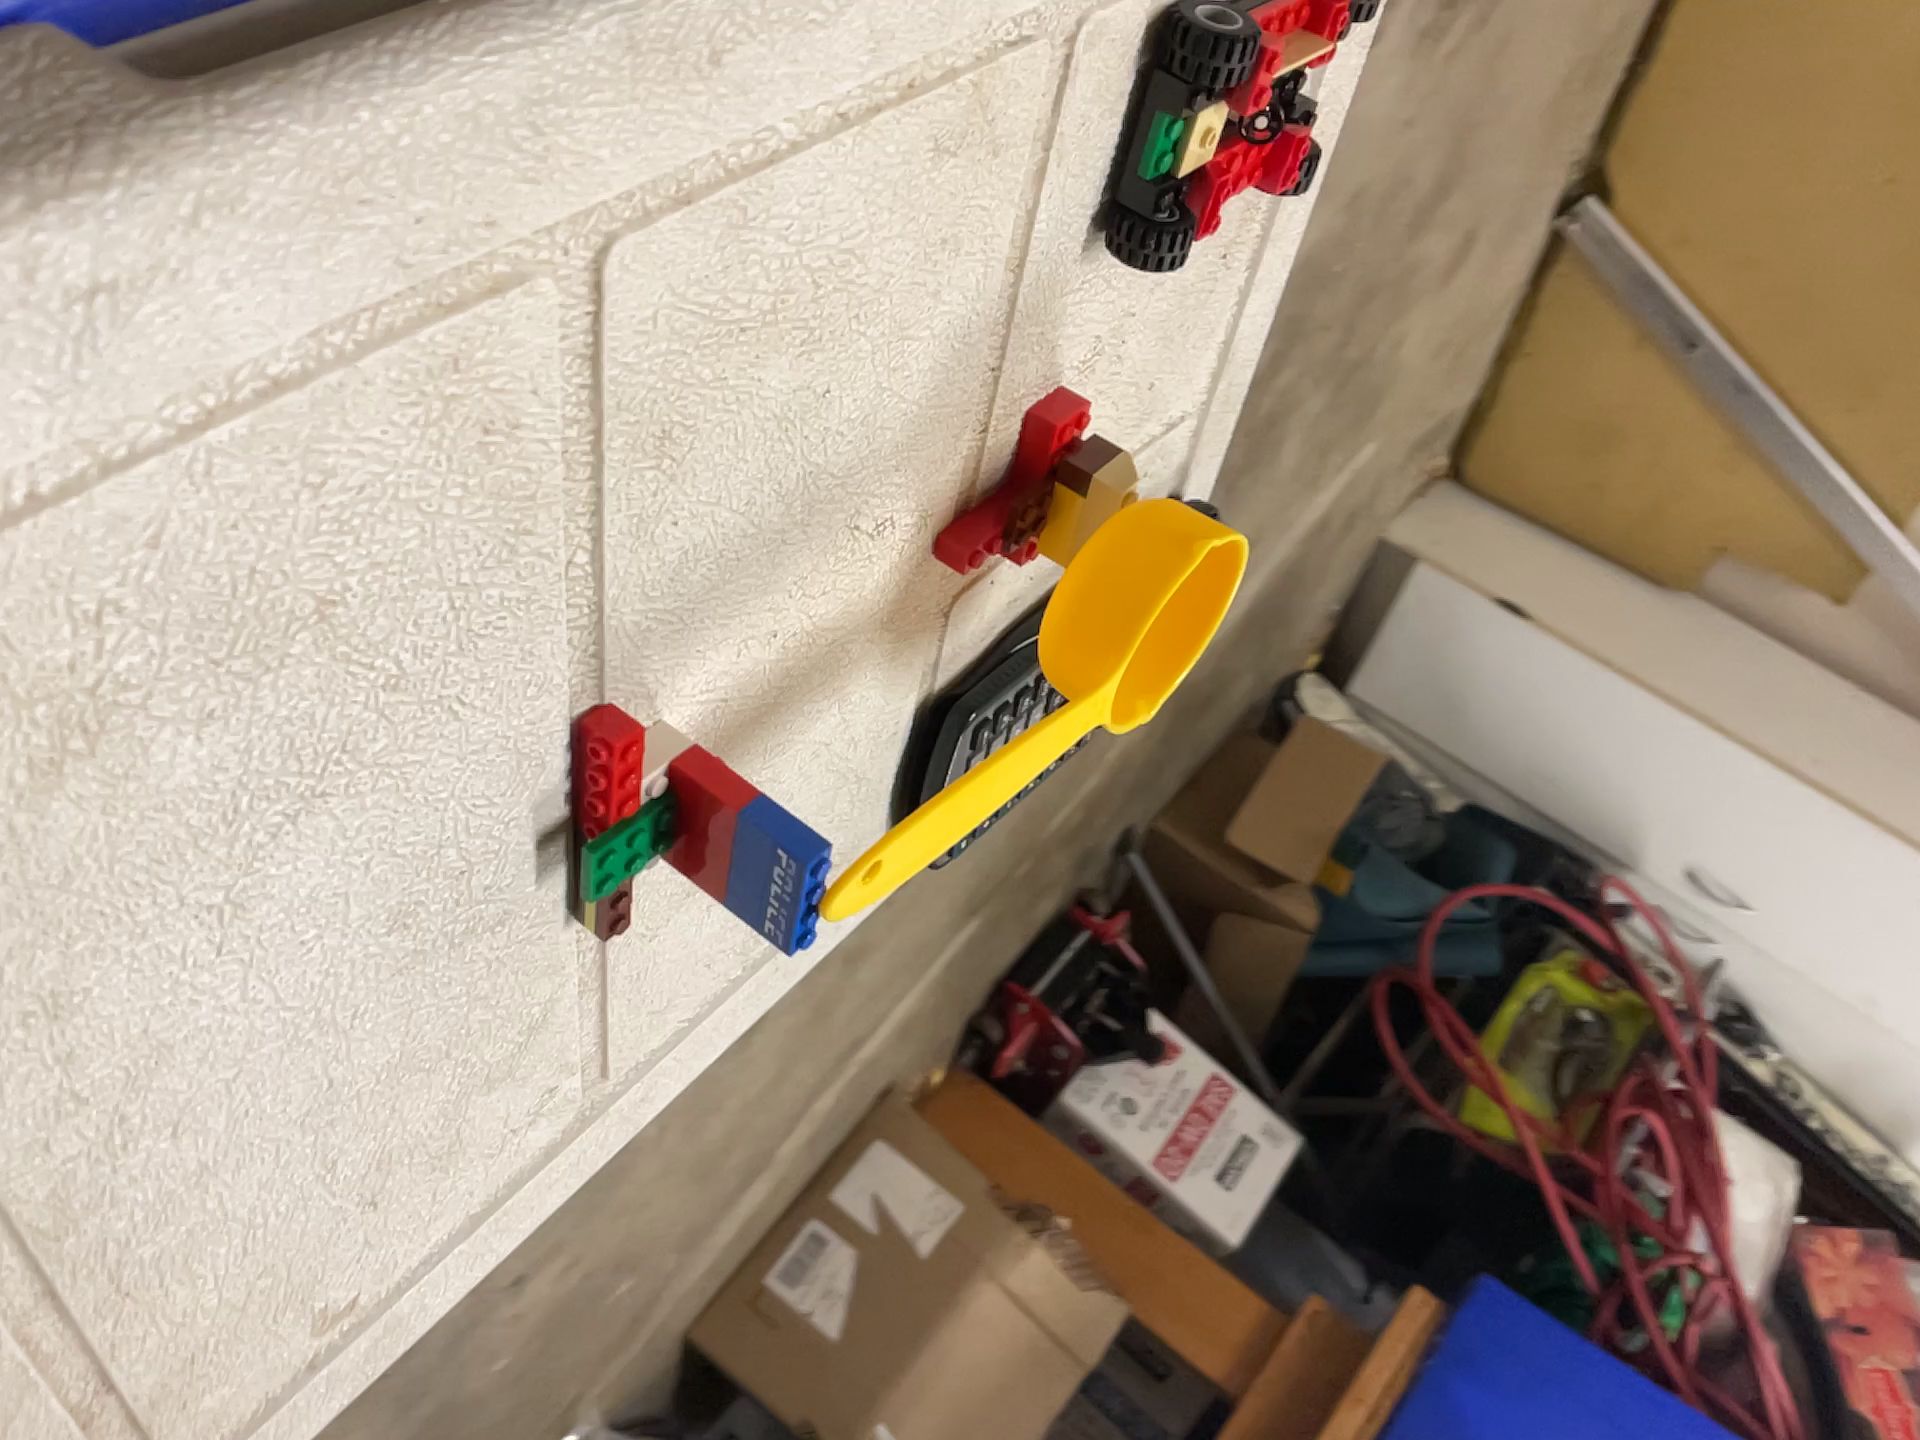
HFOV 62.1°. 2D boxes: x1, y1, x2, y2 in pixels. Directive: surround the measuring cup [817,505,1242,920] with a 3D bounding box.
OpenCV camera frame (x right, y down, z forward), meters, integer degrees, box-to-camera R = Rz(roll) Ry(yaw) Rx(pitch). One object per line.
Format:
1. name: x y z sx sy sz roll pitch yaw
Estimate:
1. measuring cup: 0.013 -0.005 0.386 0.157 0.029 0.062 -37 154 -35
